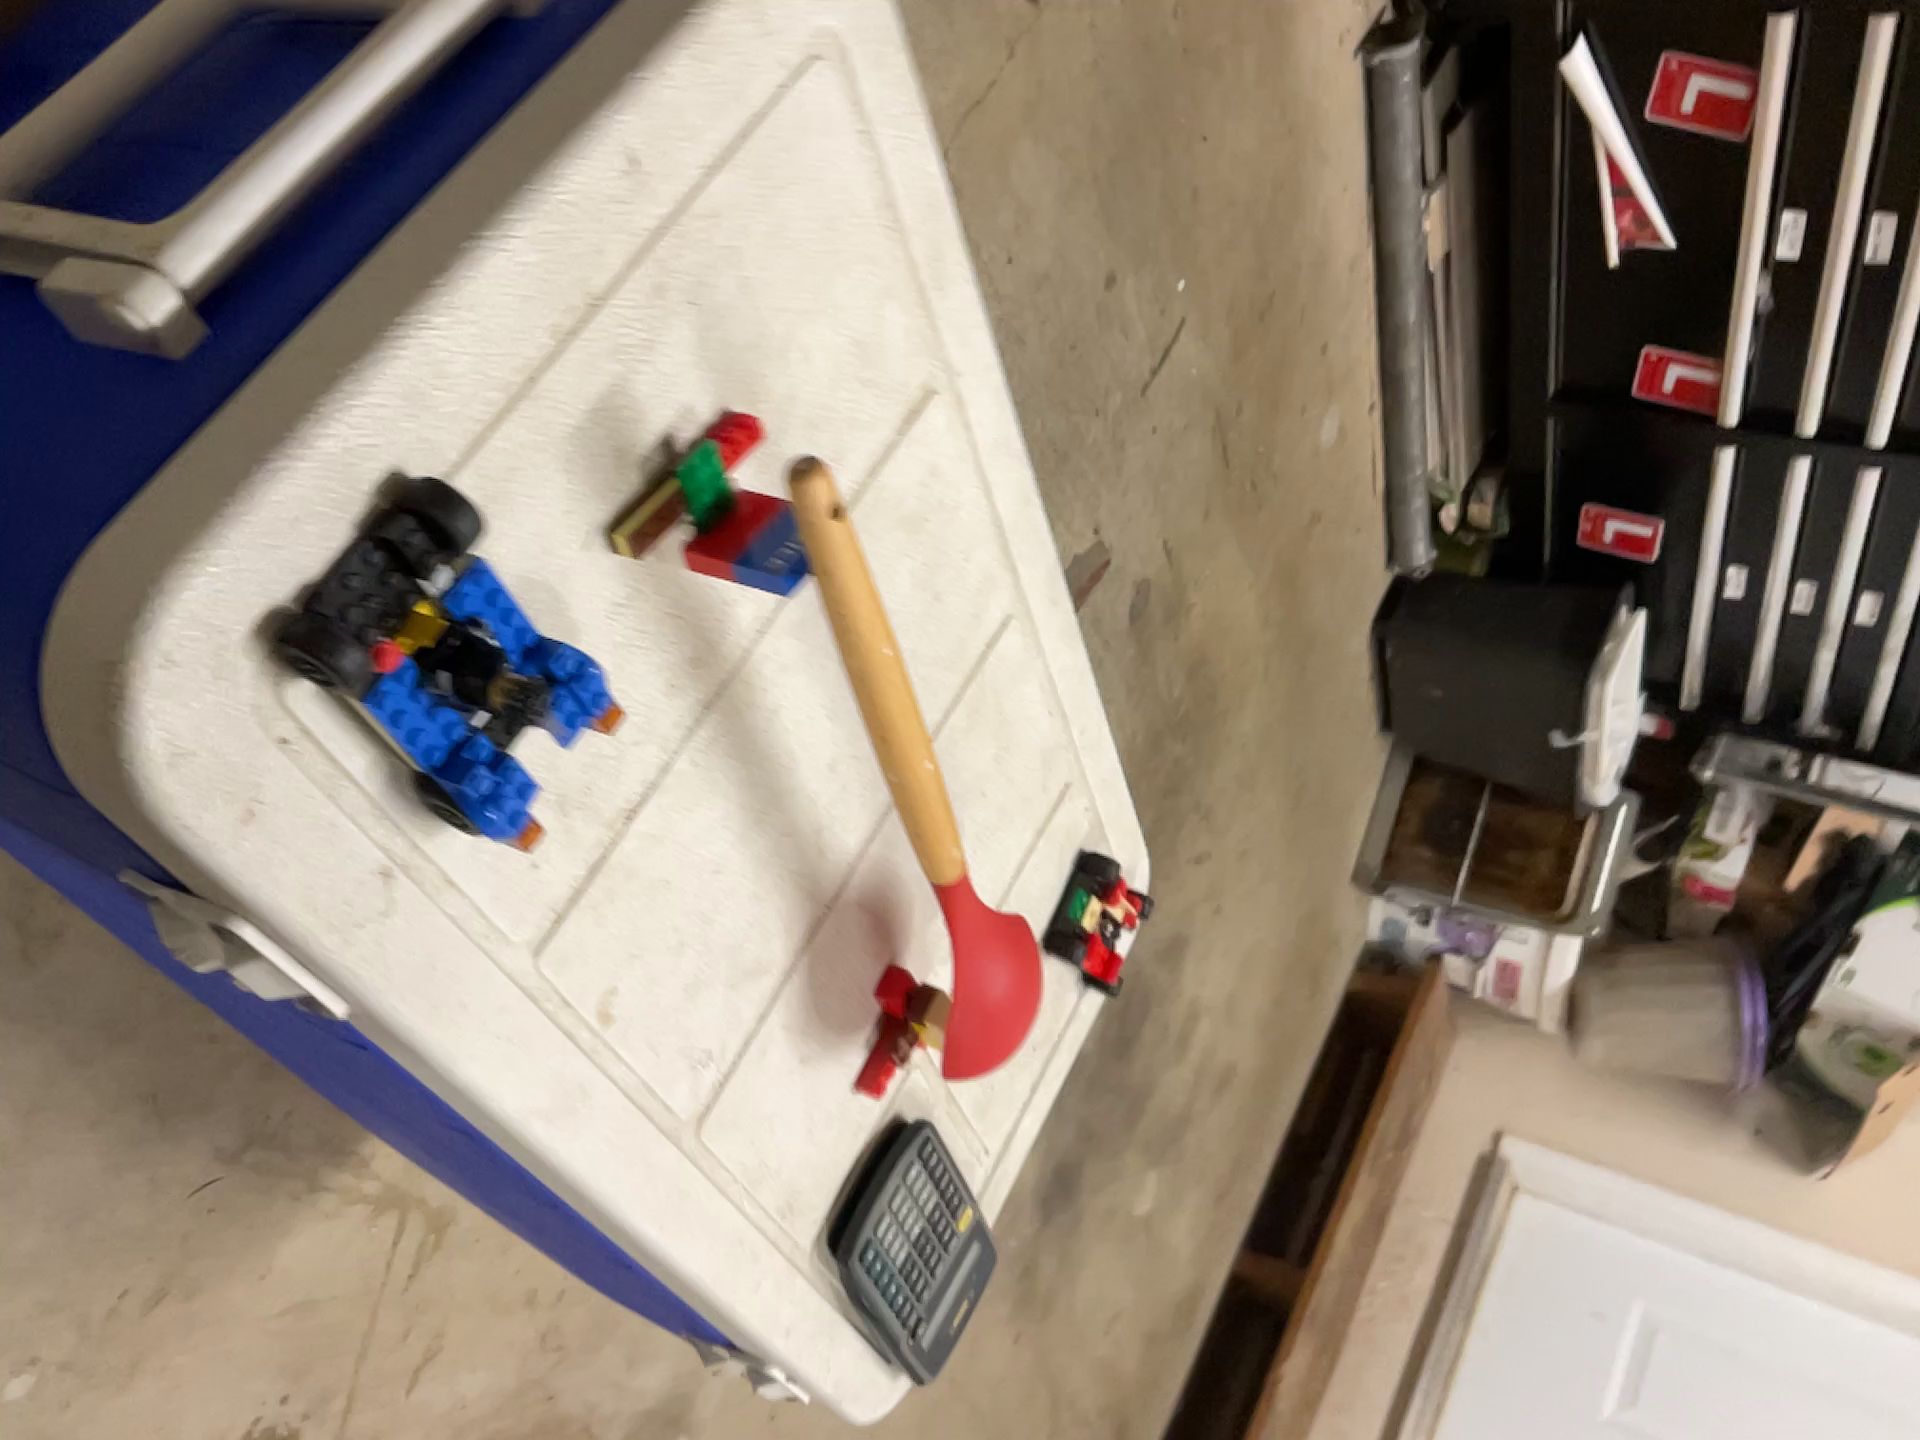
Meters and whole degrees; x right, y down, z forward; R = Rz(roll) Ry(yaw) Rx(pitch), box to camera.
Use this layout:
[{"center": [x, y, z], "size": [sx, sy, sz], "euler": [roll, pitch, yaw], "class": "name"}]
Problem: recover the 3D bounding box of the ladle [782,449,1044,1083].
[{"center": [-0.011, 0.034, 0.546], "size": [0.069, 0.031, 0.315], "euler": [-55, 146, -31], "class": "ladle"}]
